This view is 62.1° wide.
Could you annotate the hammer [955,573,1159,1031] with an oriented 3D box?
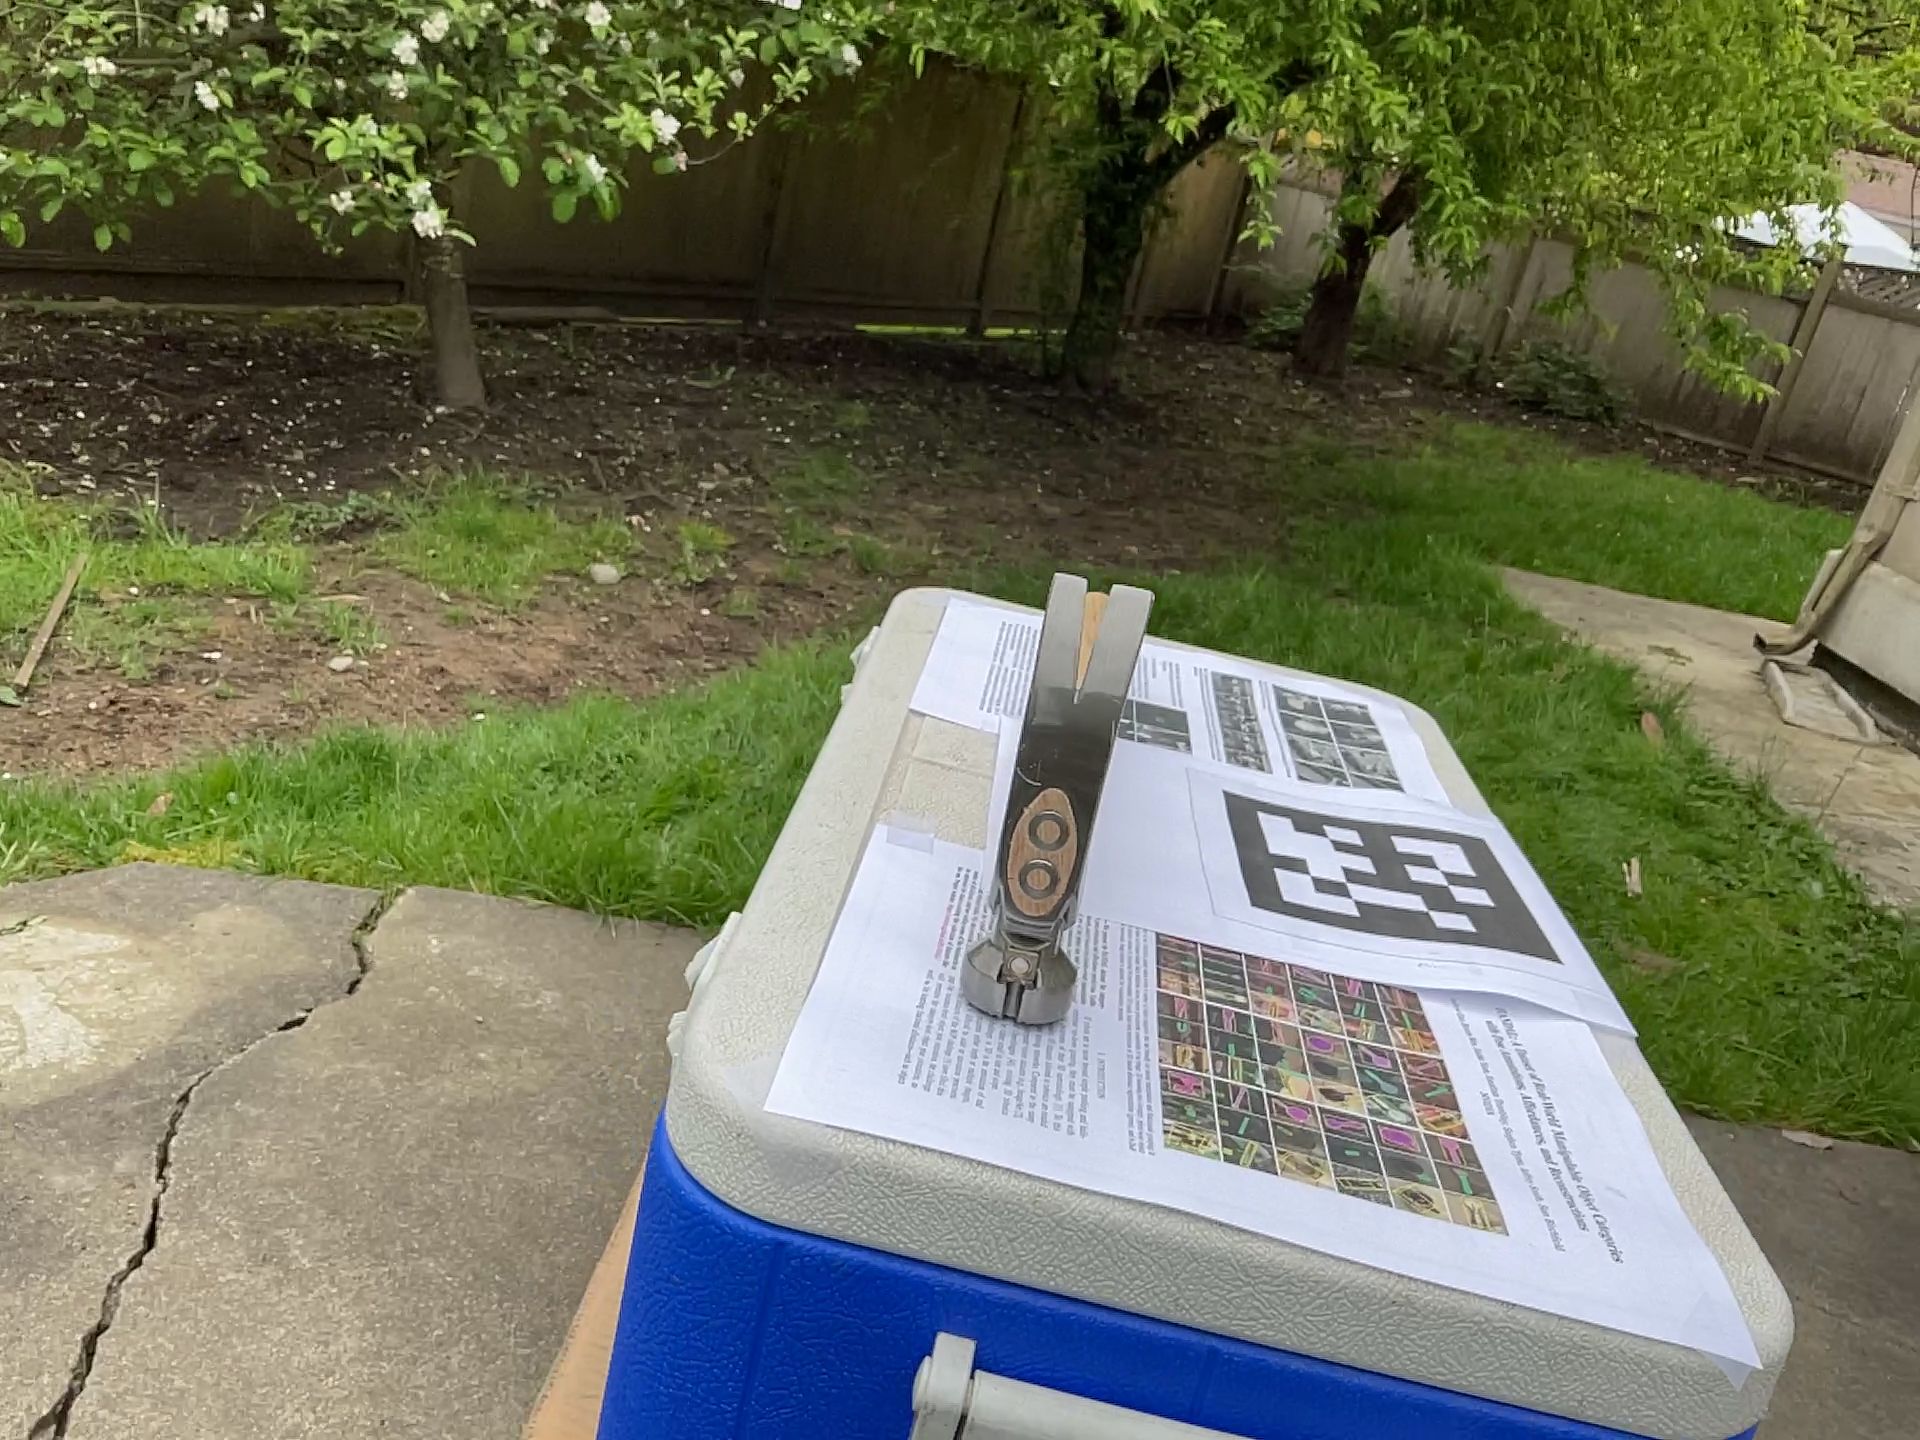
[{"bbox_3d":[0.051,-0.017,0.690,0.038,0.146,0.410,13,15,3],"label":"hammer"}]
